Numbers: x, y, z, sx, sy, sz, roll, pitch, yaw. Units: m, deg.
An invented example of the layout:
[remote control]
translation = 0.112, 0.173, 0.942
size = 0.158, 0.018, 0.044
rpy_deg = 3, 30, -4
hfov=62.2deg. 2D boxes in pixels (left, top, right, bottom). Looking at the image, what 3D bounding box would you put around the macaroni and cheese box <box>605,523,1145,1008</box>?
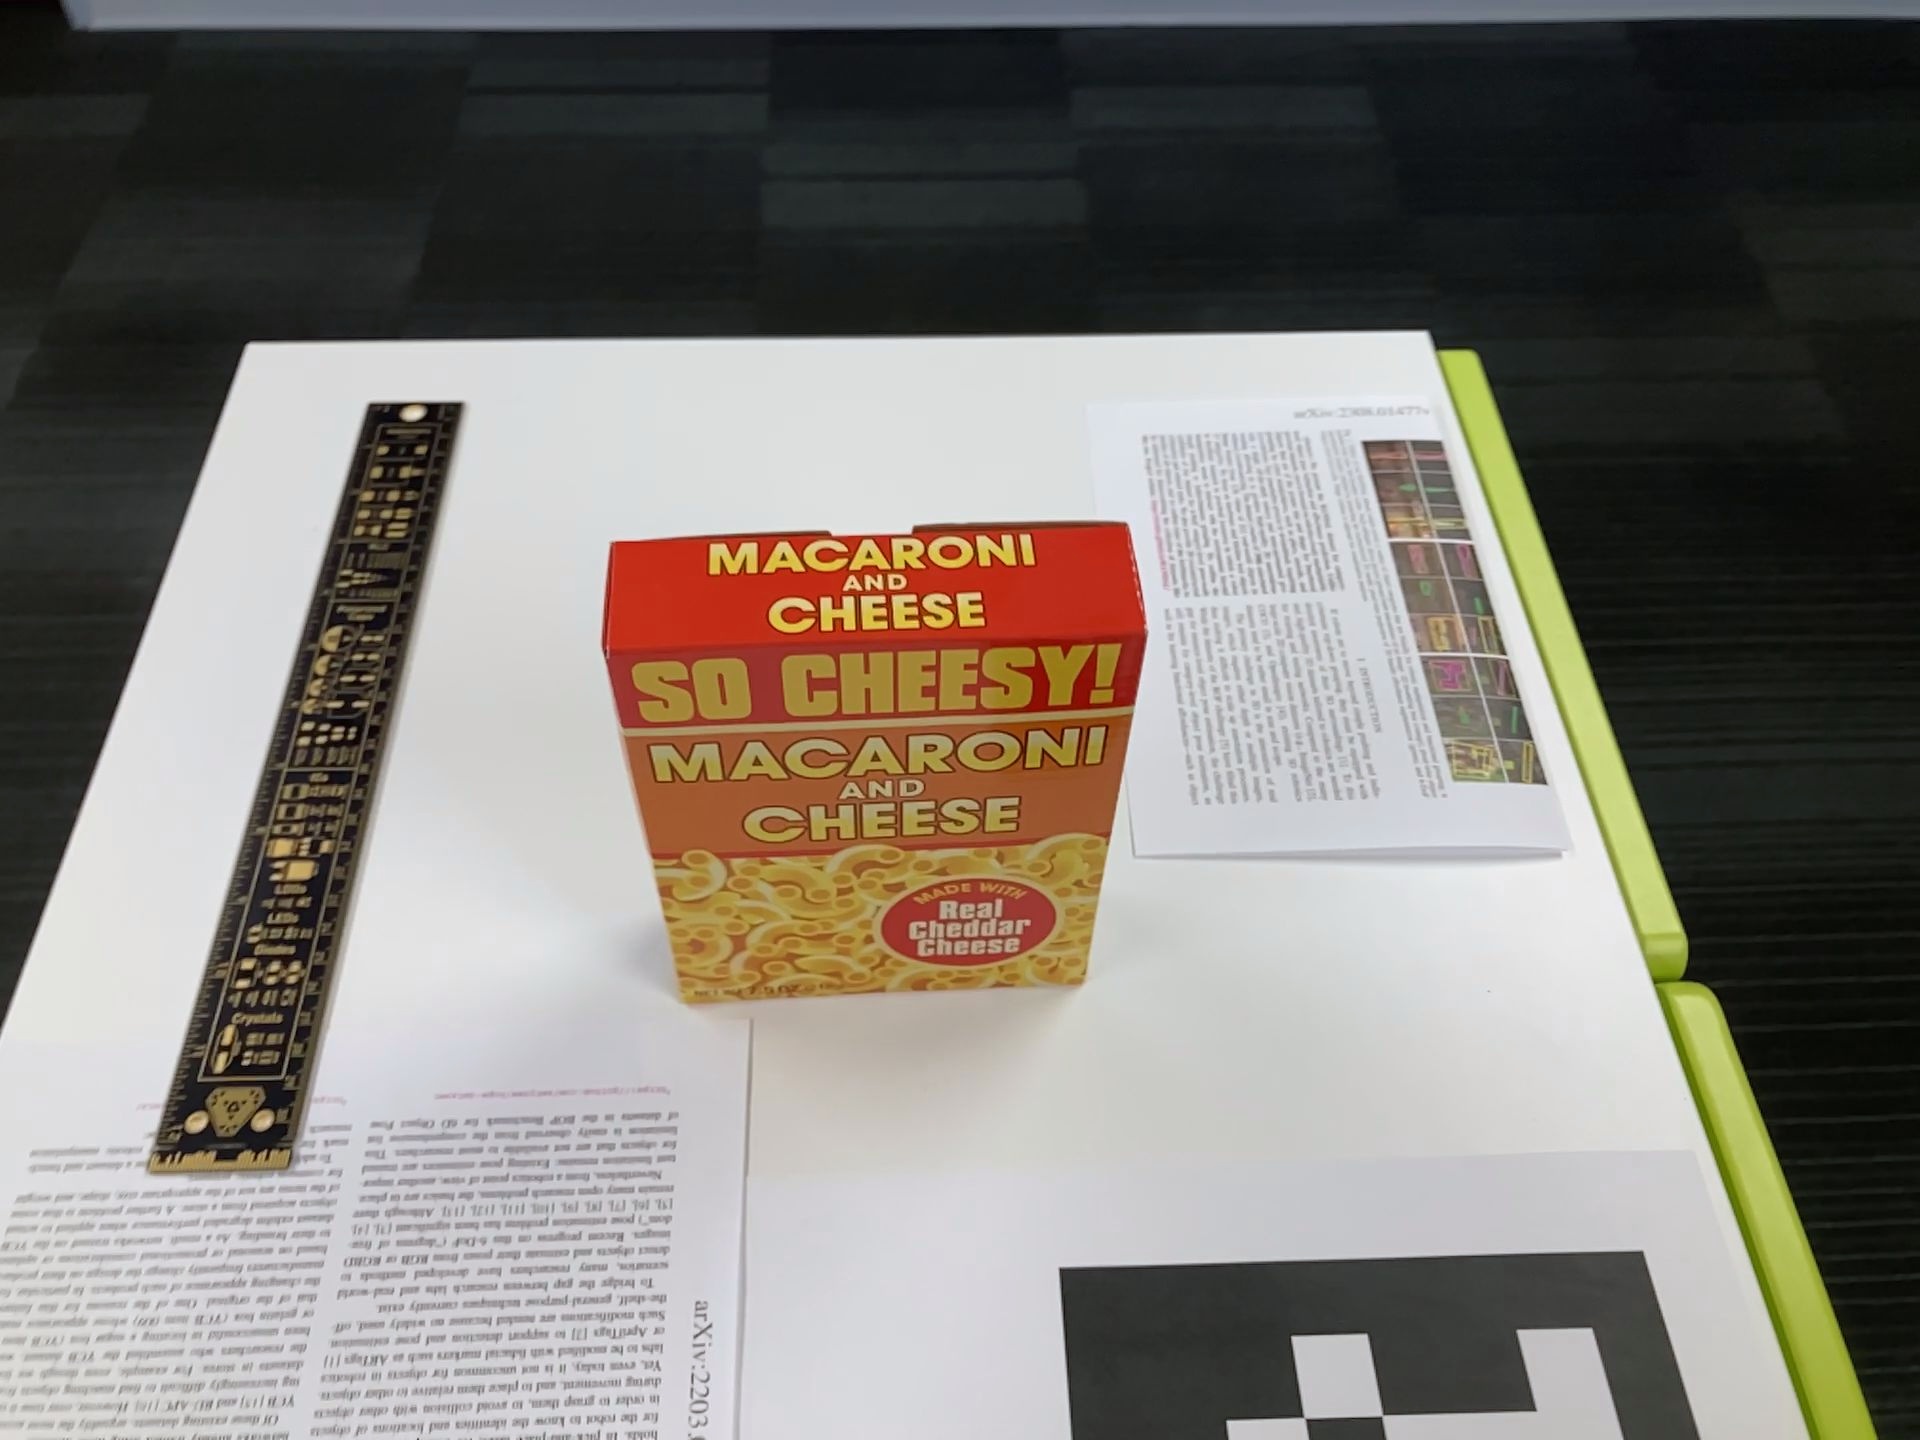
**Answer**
[macaroni and cheese box]
translation = -0.022, 0.019, 0.429
size = 0.124, 0.166, 0.040
rpy_deg = -3, 52, -4
